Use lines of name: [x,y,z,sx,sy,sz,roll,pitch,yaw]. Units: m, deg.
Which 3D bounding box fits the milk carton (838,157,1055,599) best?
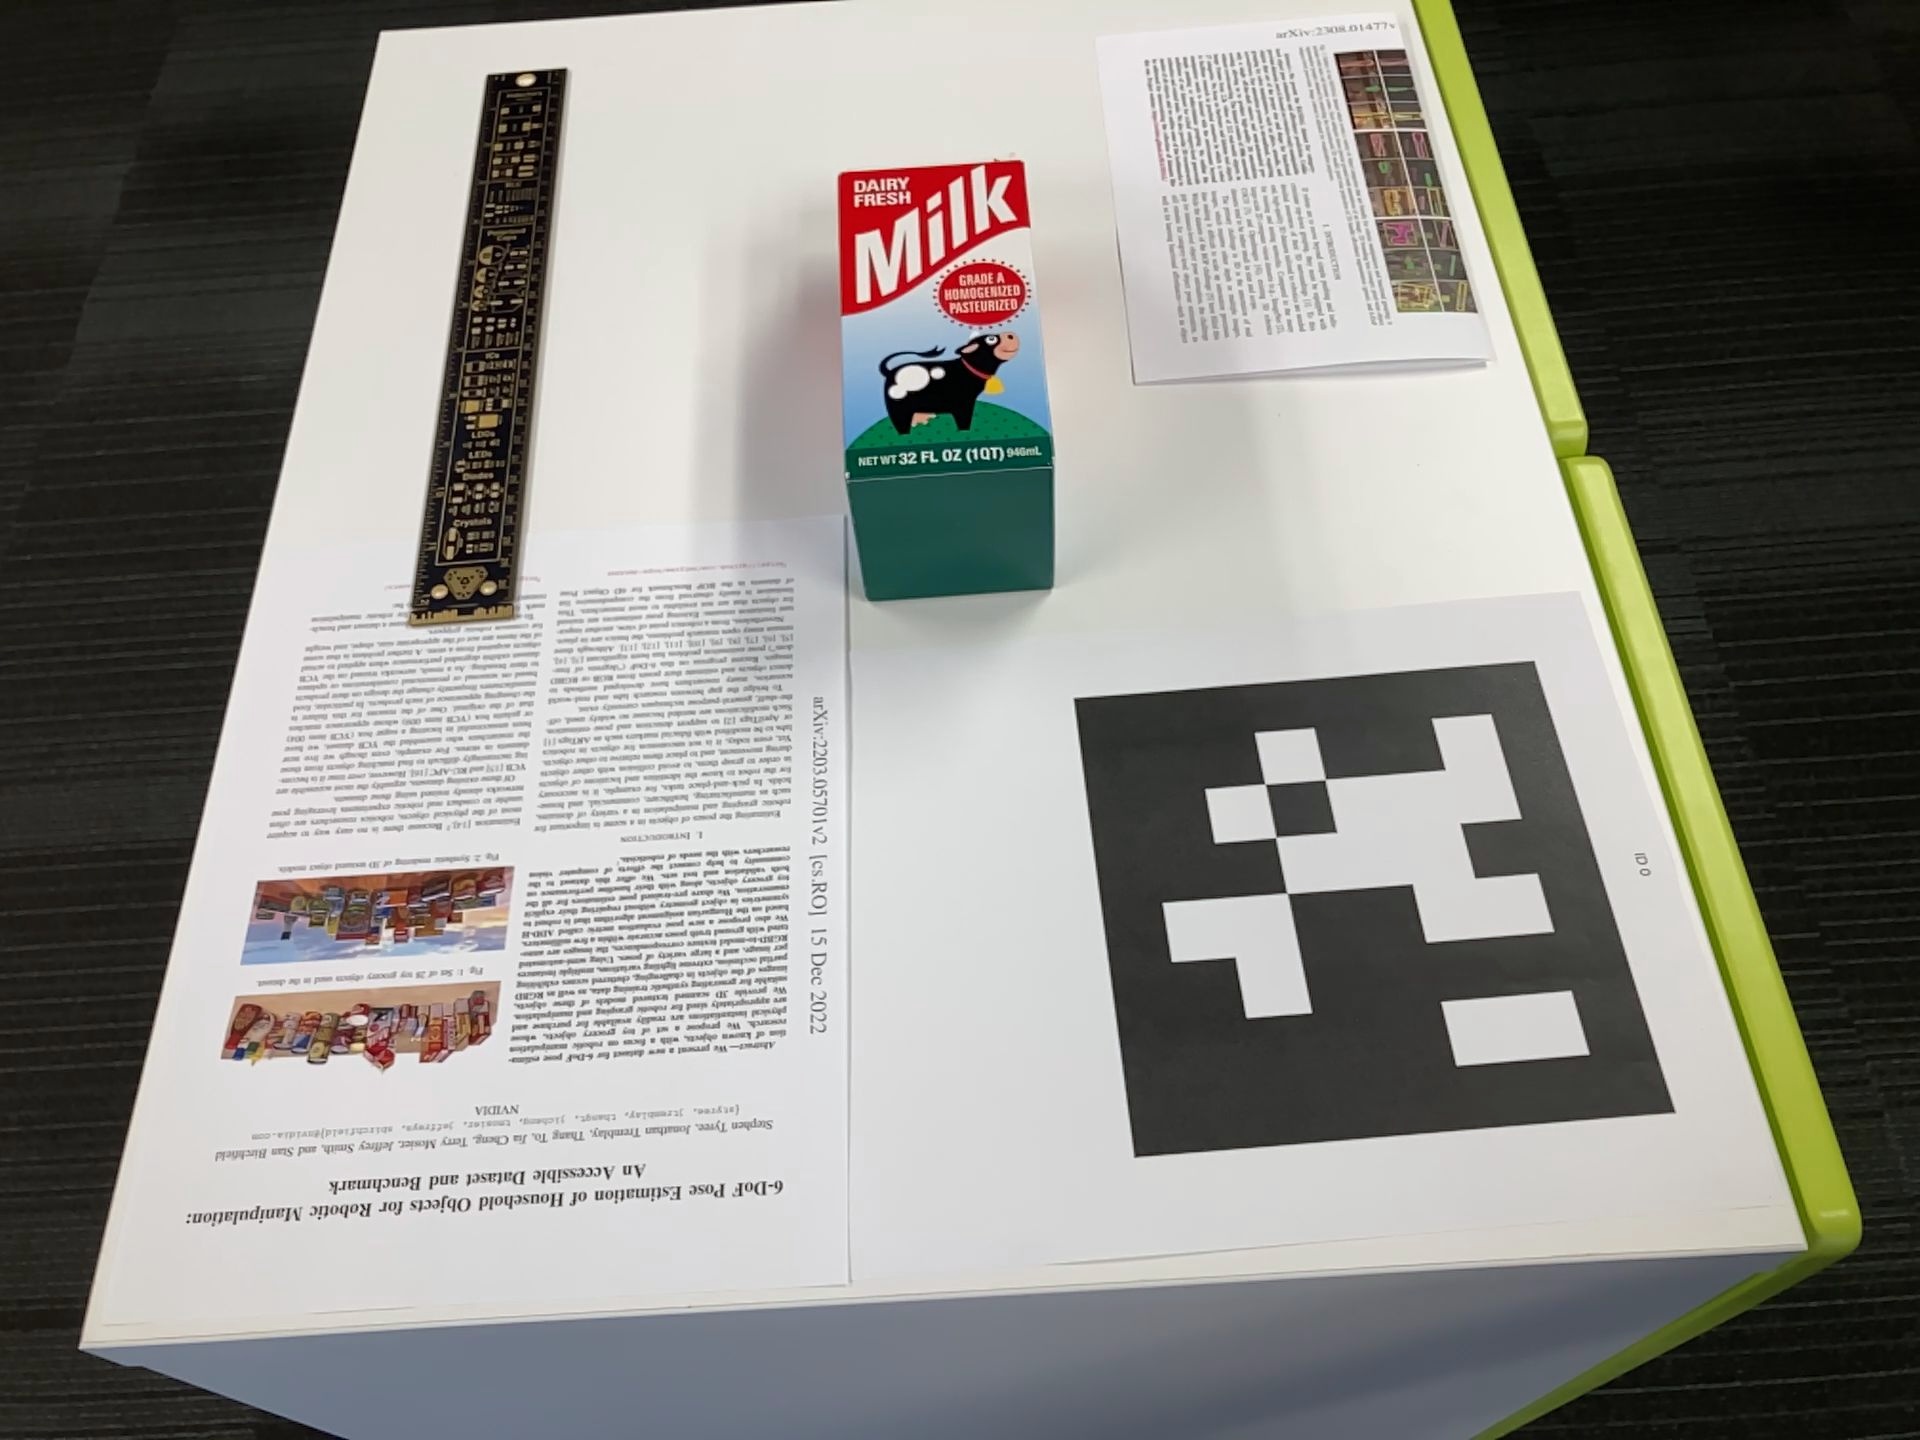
milk carton: [-0.006,-0.145,0.596,0.072,0.073,0.190,-5,58,1]
